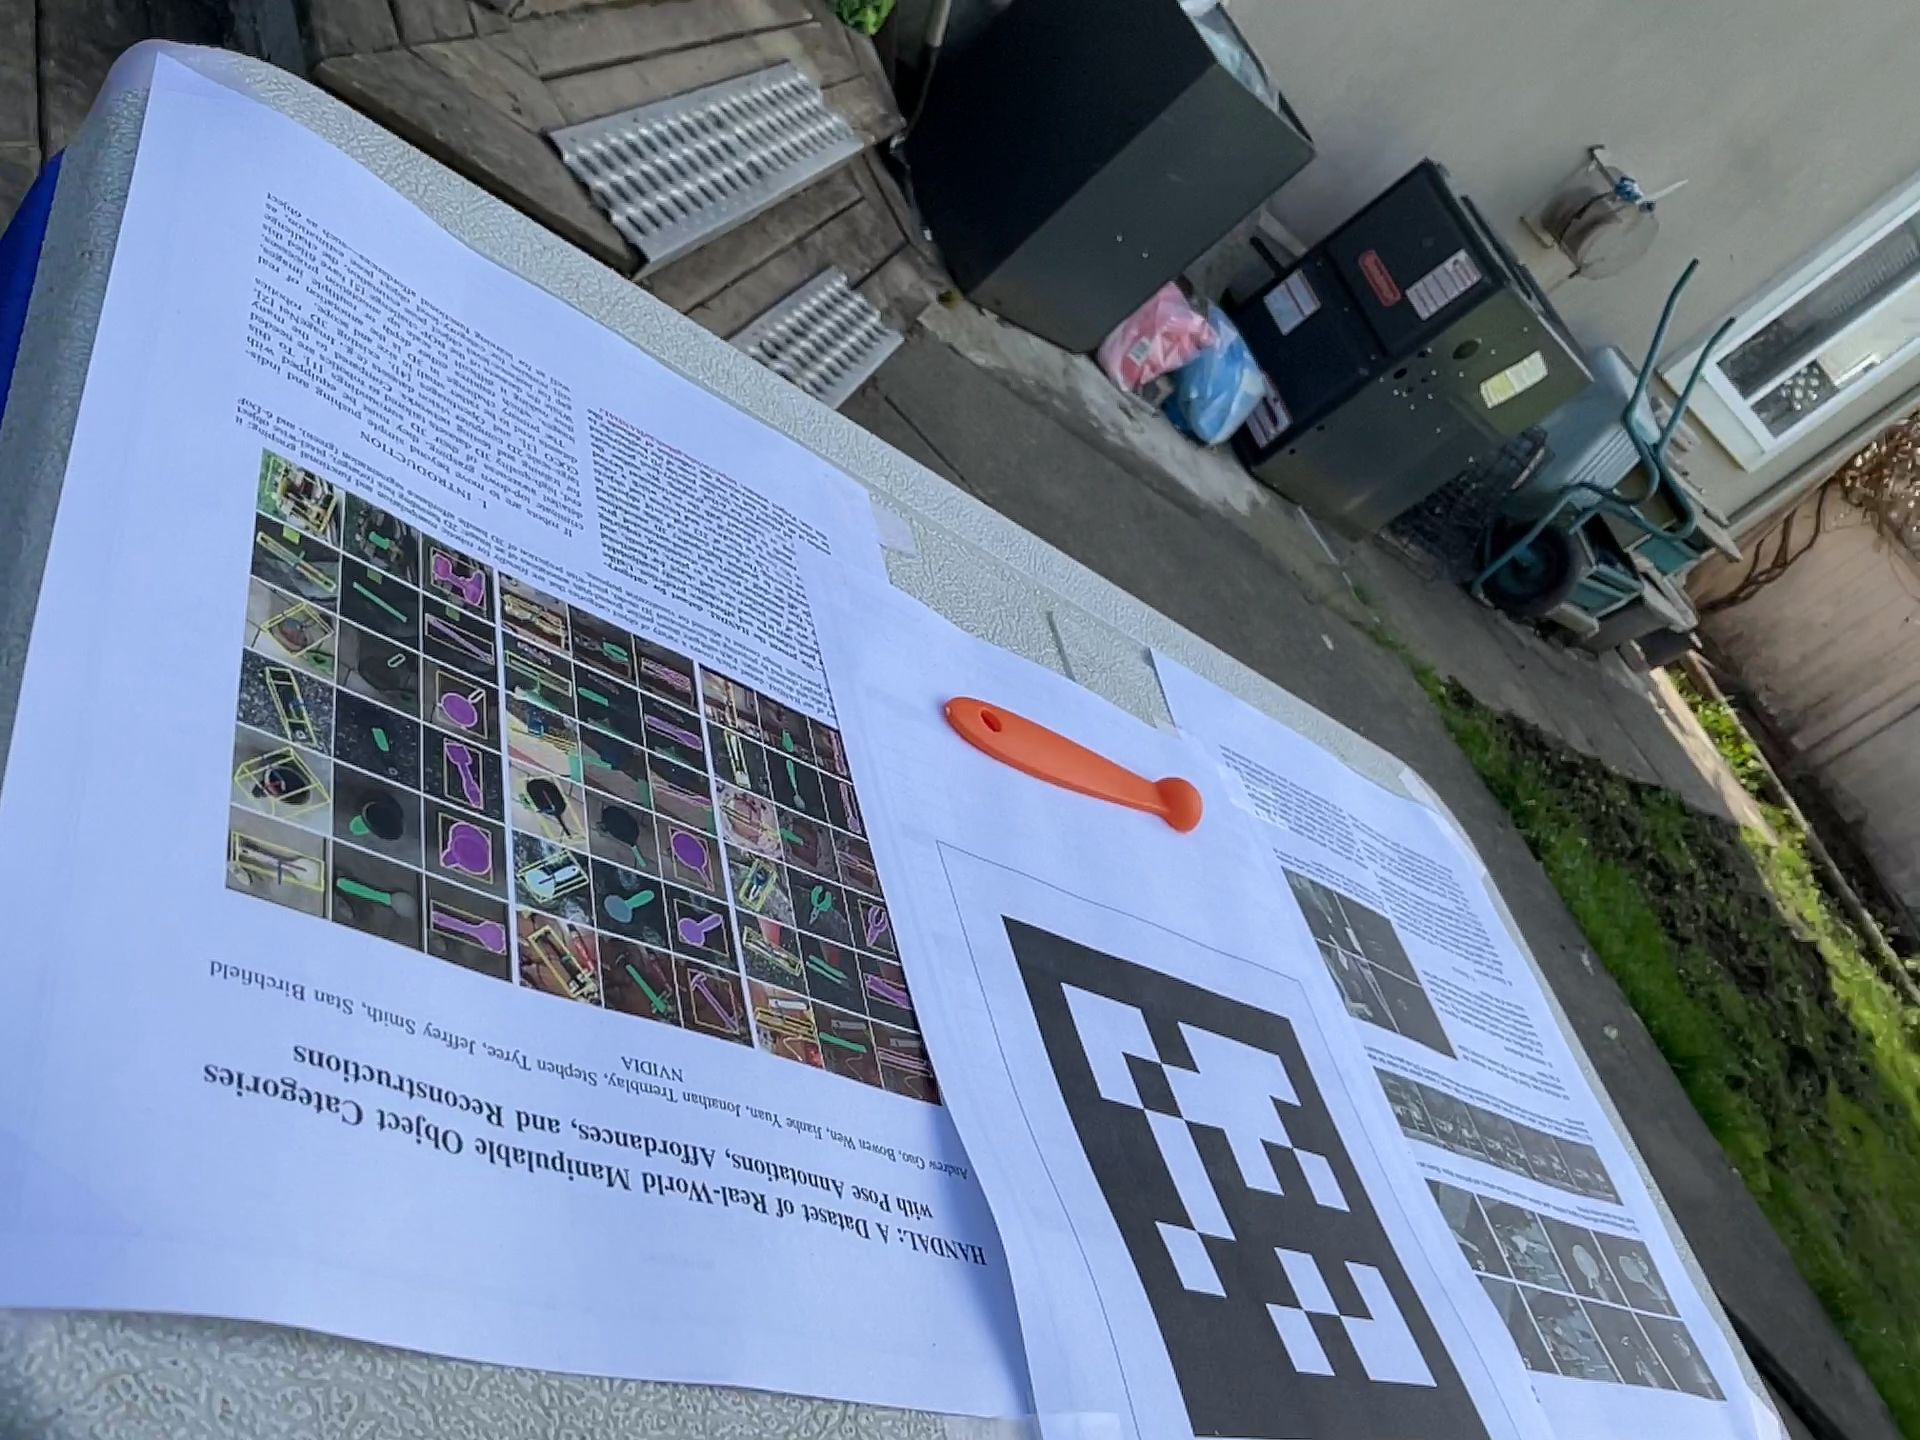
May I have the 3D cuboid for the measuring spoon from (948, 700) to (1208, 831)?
[{"bbox_3d":[0.039,0.012,0.478,0.116,0.011,0.021,22,32,-43],"label":"measuring spoon"}]
